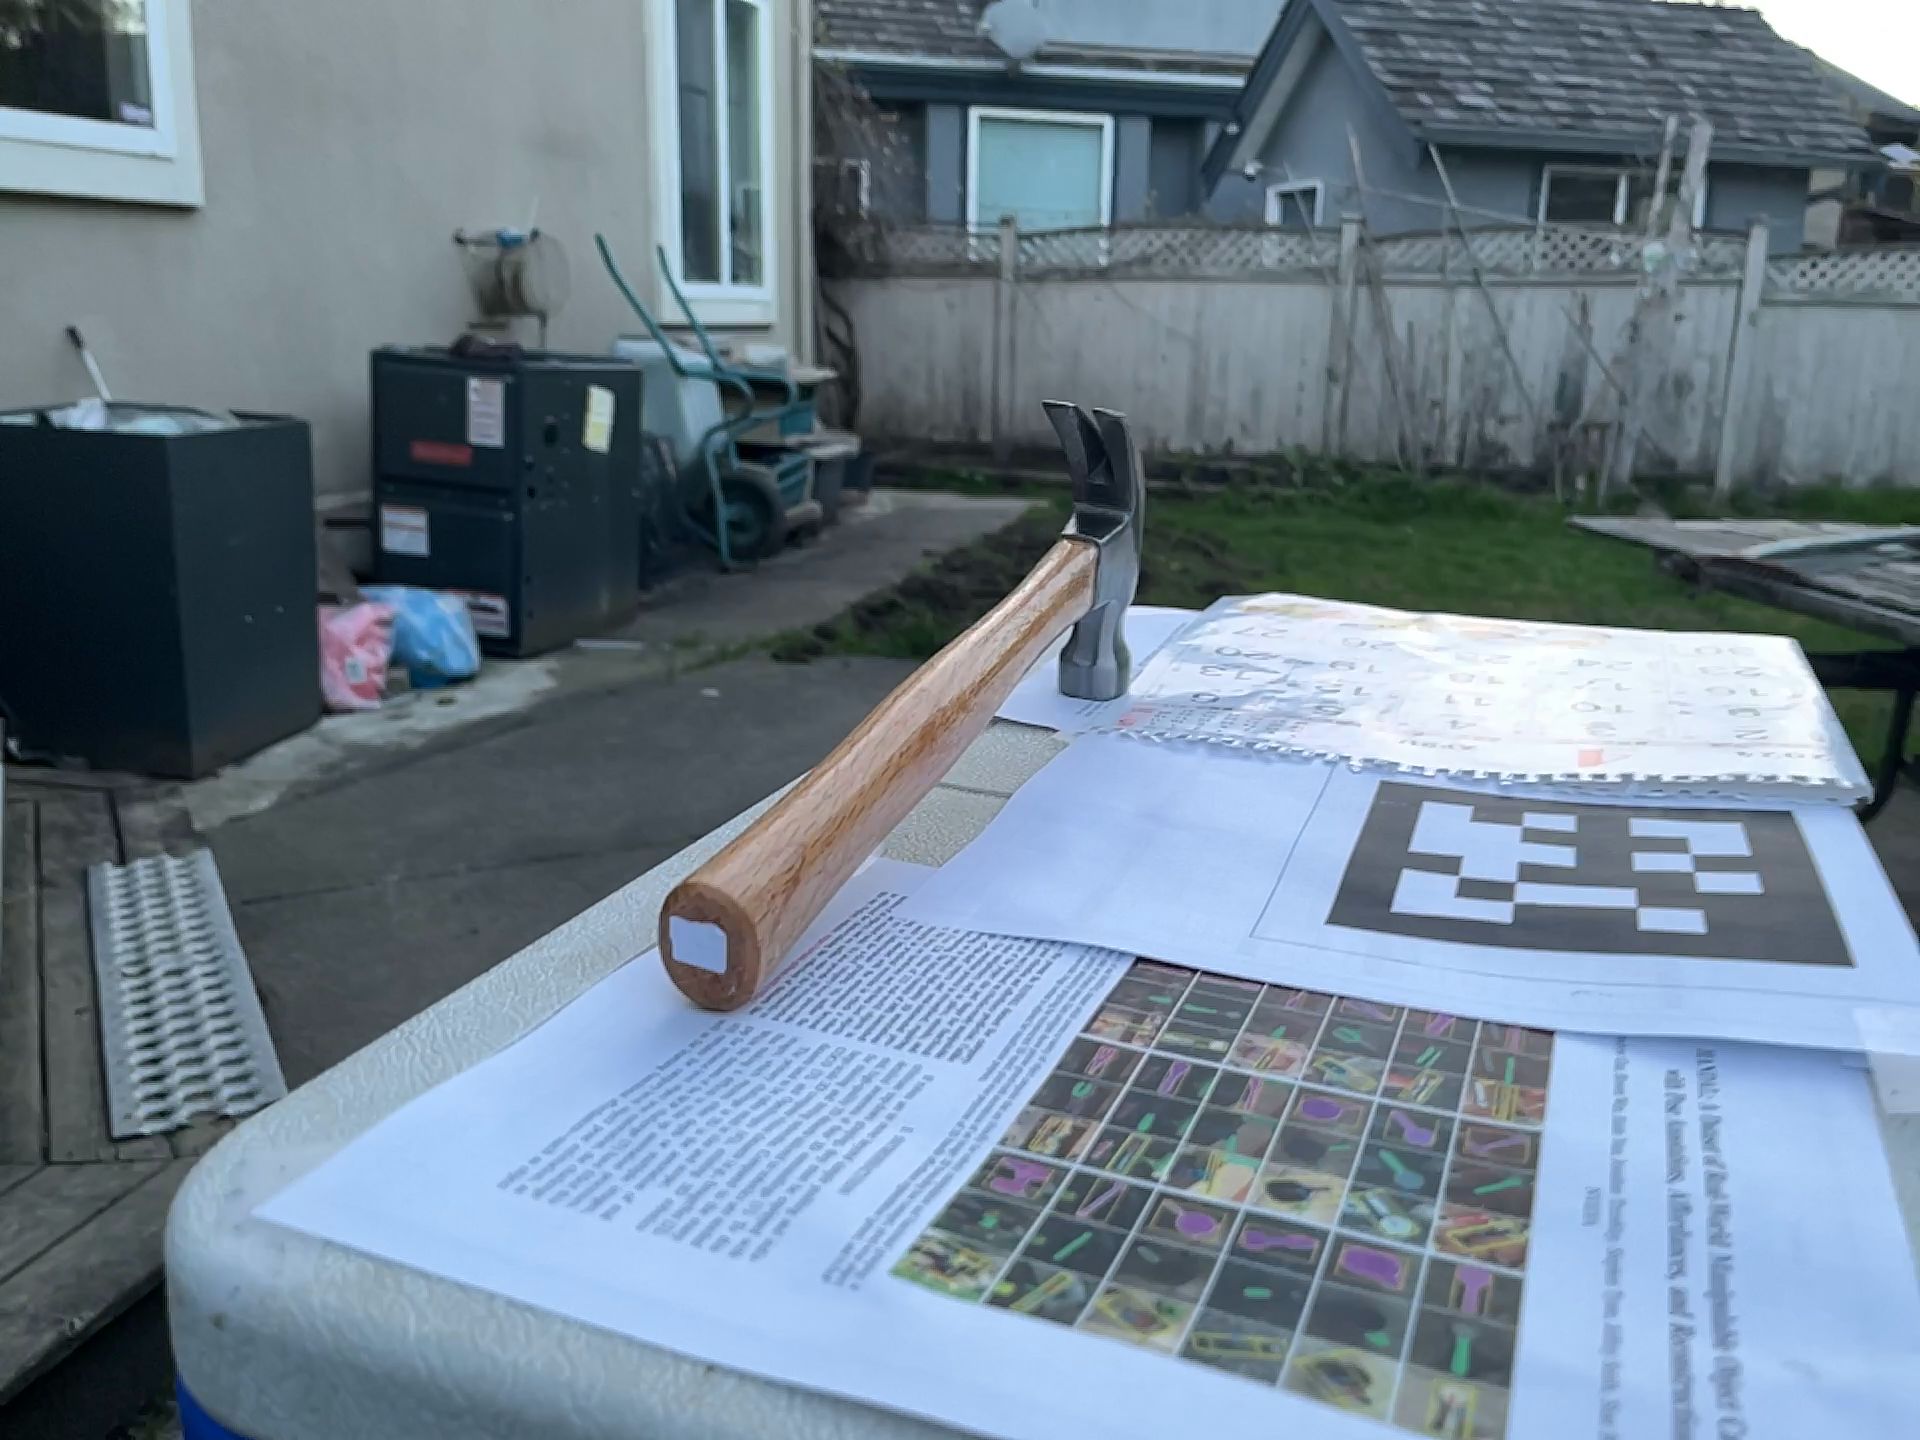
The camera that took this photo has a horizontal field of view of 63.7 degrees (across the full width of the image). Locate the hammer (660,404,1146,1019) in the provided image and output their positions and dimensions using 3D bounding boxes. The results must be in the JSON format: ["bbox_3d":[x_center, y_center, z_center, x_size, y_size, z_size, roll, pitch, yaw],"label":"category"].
[{"bbox_3d":[0.002,-0.012,0.498,0.031,0.130,0.331,12,28,19],"label":"hammer"}]
